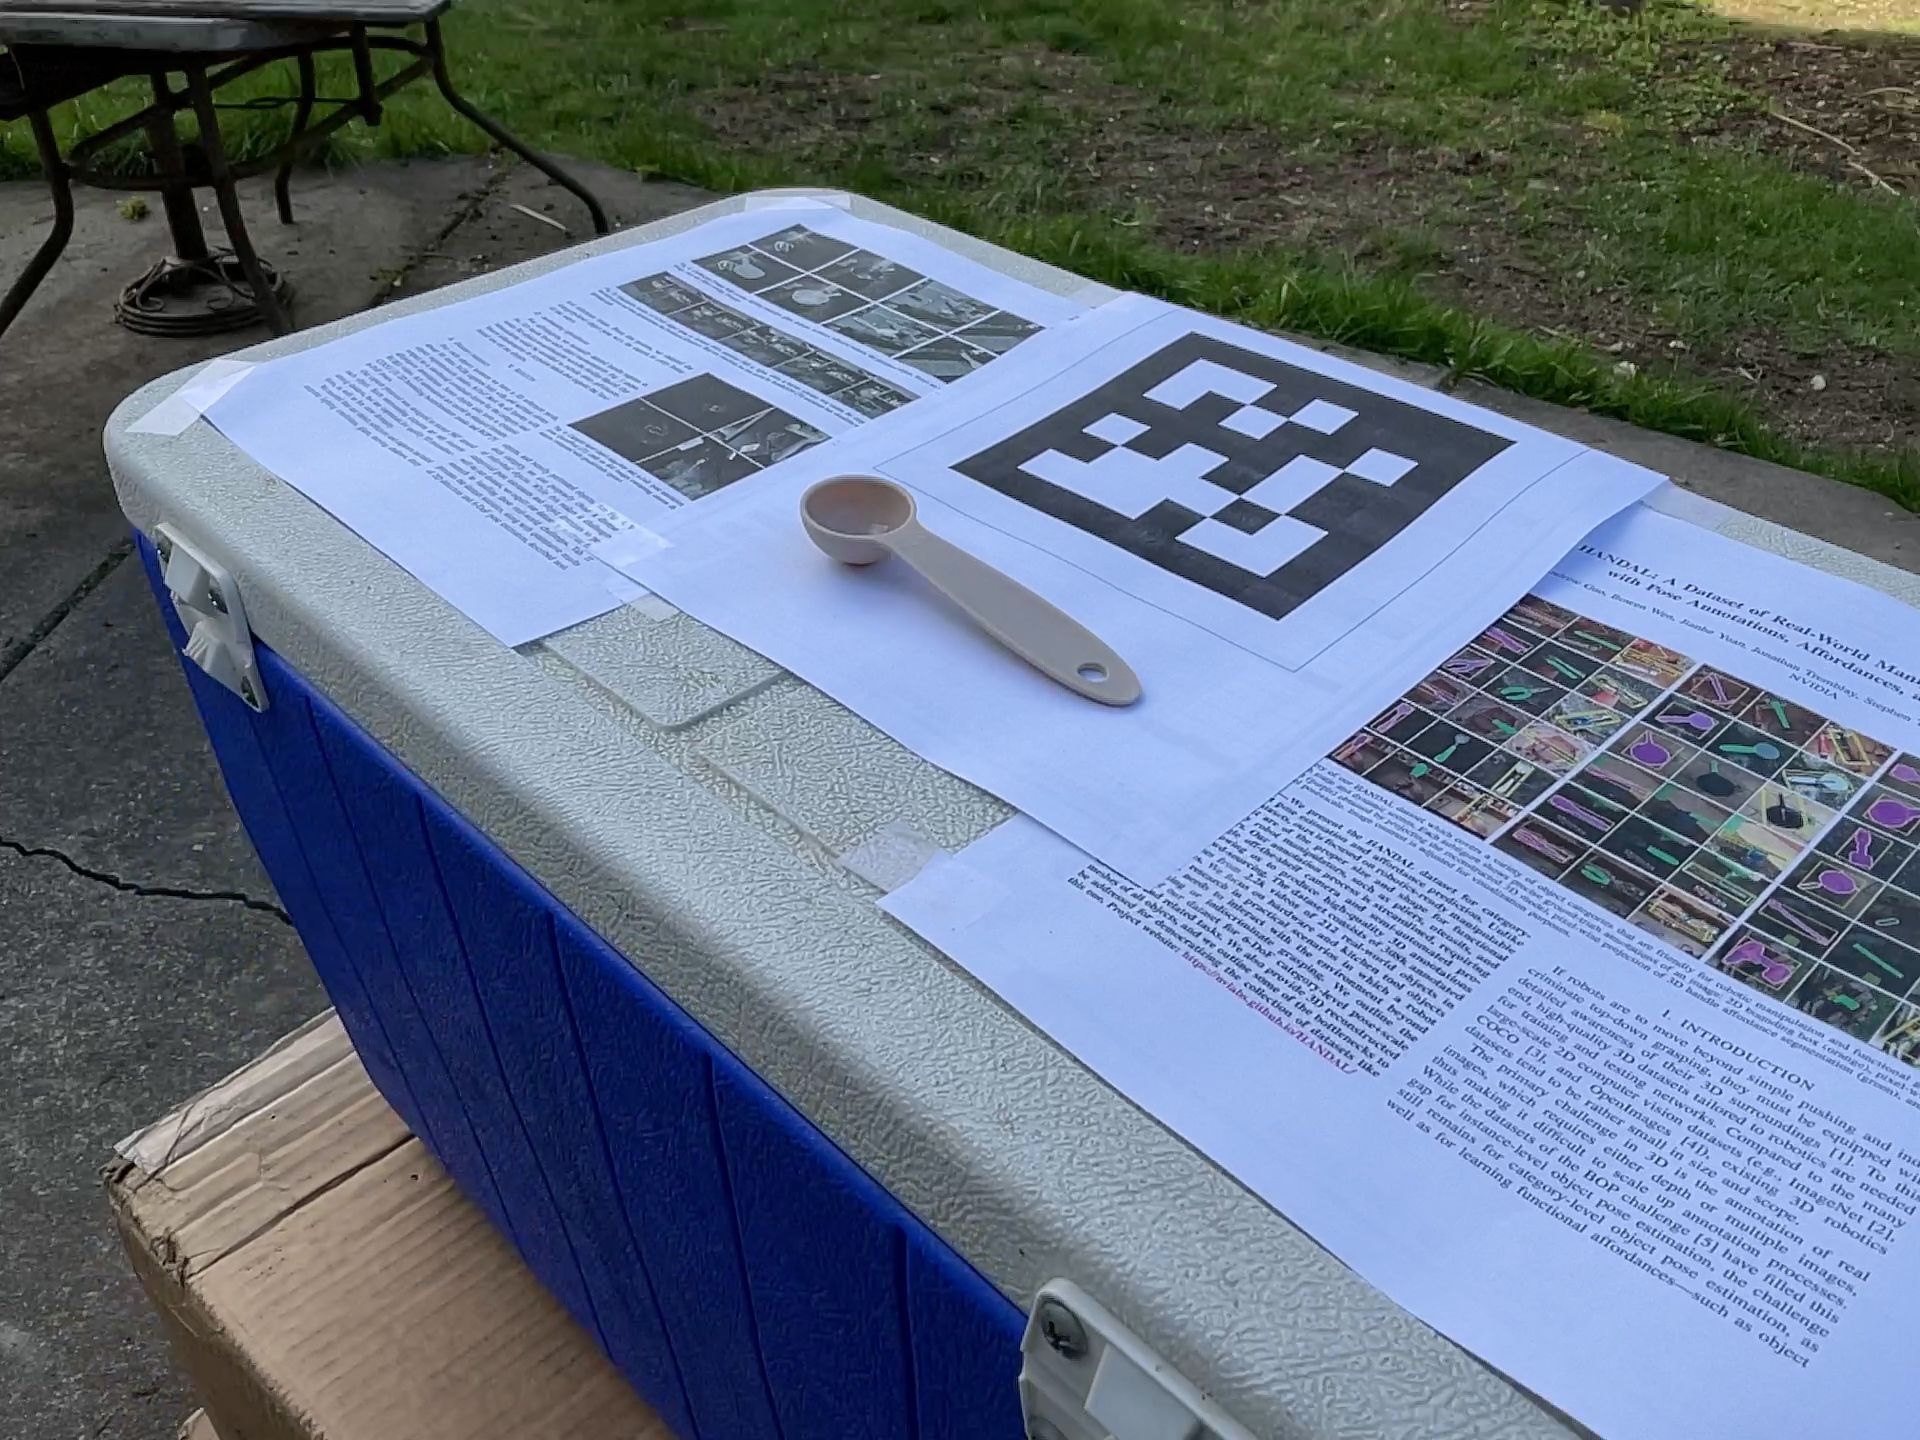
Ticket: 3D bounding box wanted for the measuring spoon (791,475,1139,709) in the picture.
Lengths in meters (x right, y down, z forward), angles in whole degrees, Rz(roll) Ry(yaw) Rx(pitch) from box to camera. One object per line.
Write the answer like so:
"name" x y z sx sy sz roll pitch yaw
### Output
"measuring spoon" 0.000 -0.032 0.441 0.034 0.018 0.124 -30 53 -35
